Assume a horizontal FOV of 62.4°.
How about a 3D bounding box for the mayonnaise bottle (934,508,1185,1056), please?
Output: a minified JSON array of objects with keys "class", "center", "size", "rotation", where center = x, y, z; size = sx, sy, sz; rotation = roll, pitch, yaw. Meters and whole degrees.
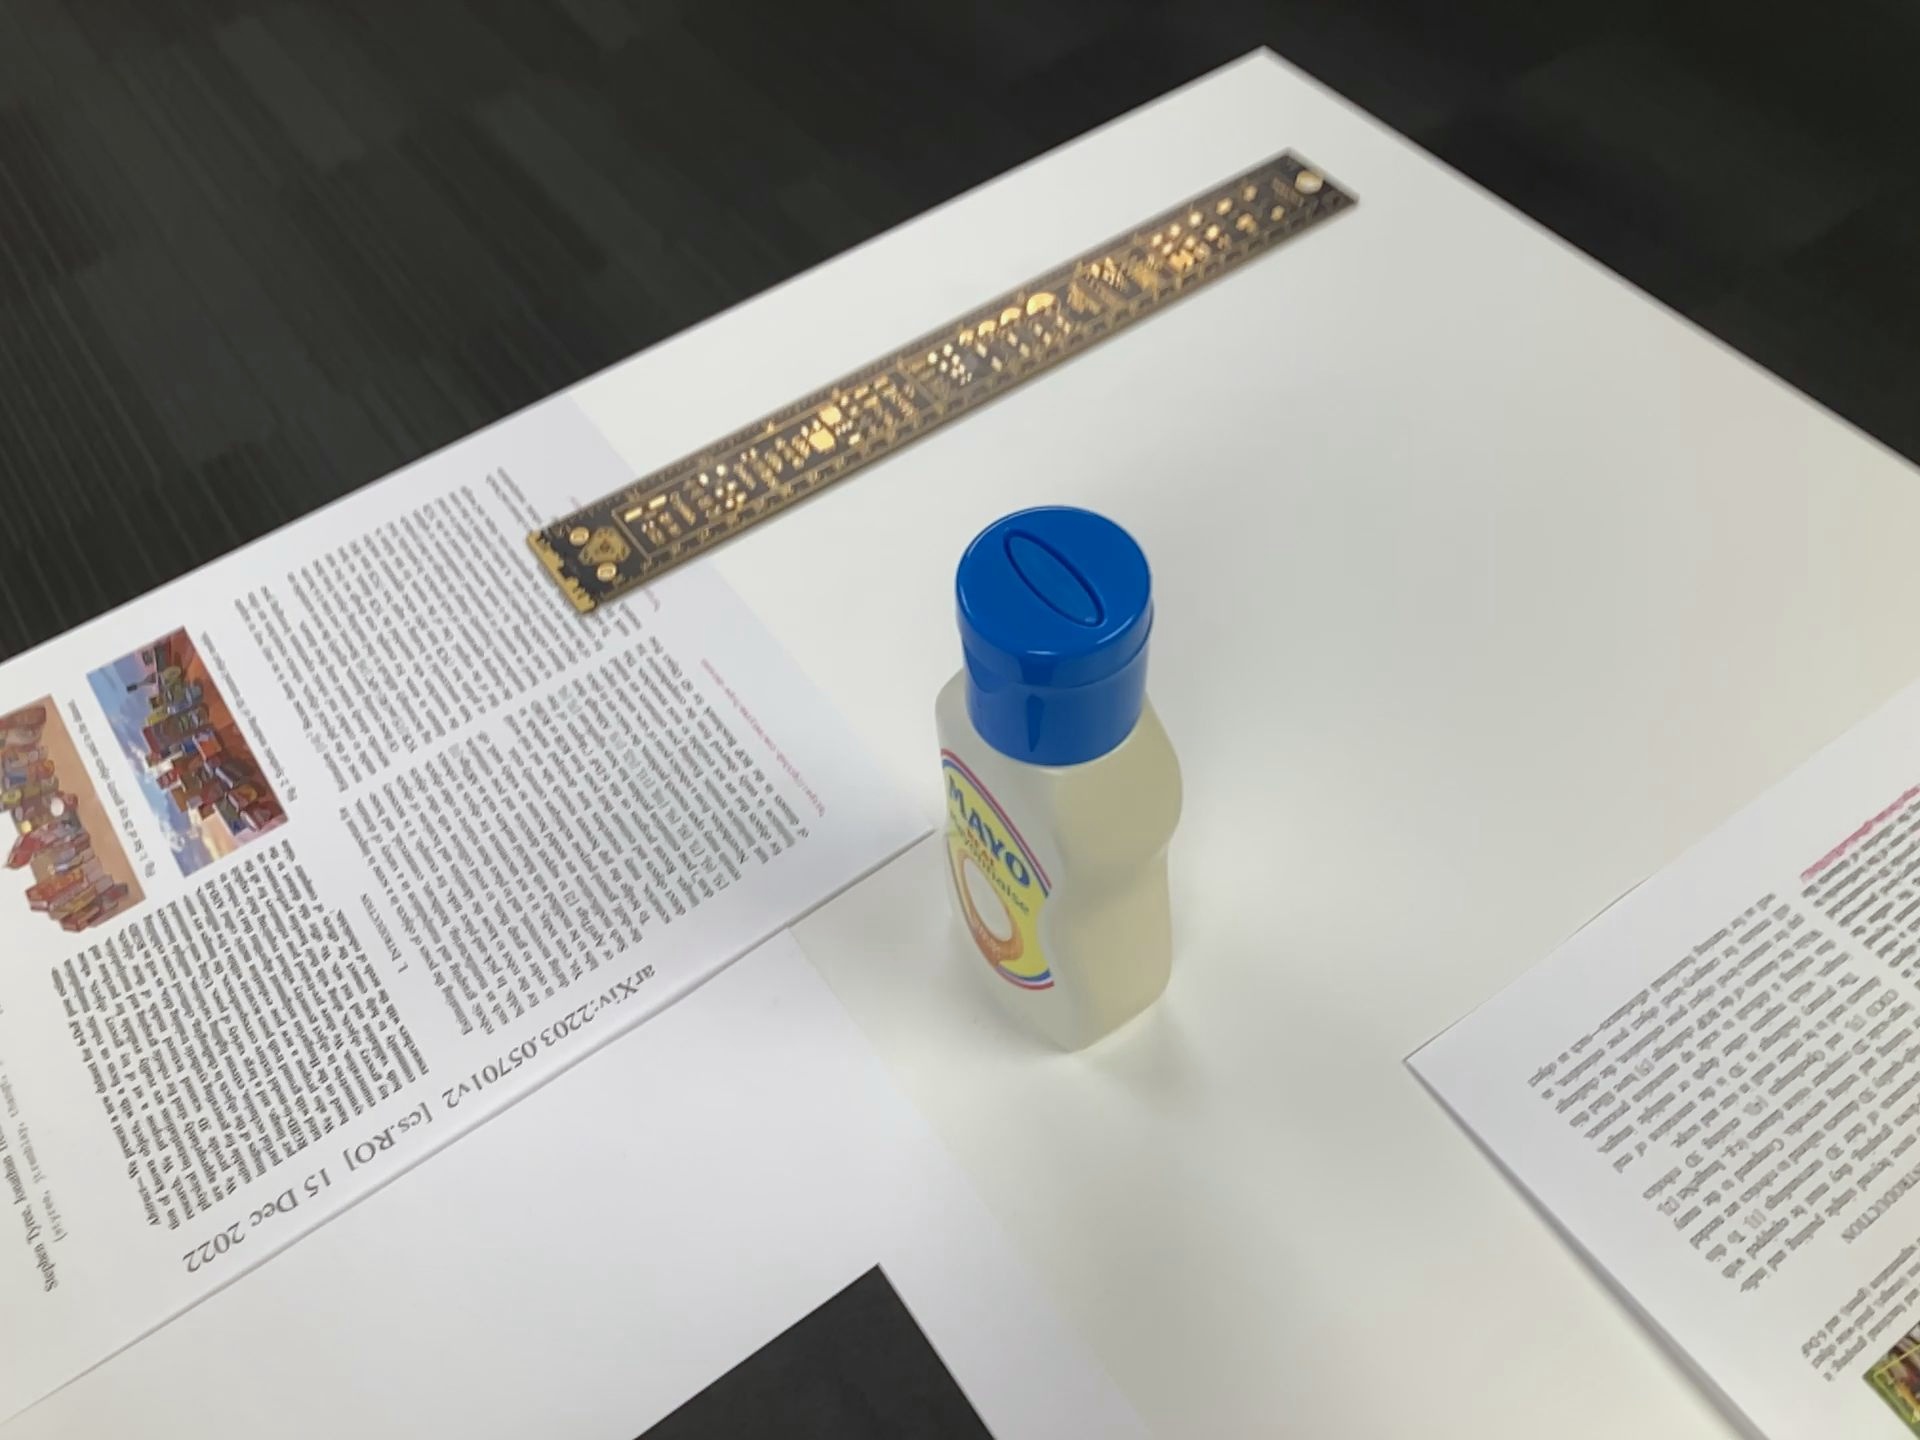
[{"class":"mayonnaise bottle","center":[0.020,0.017,0.346],"size":[0.041,0.148,0.065],"rotation":[-31,59,-17]}]
